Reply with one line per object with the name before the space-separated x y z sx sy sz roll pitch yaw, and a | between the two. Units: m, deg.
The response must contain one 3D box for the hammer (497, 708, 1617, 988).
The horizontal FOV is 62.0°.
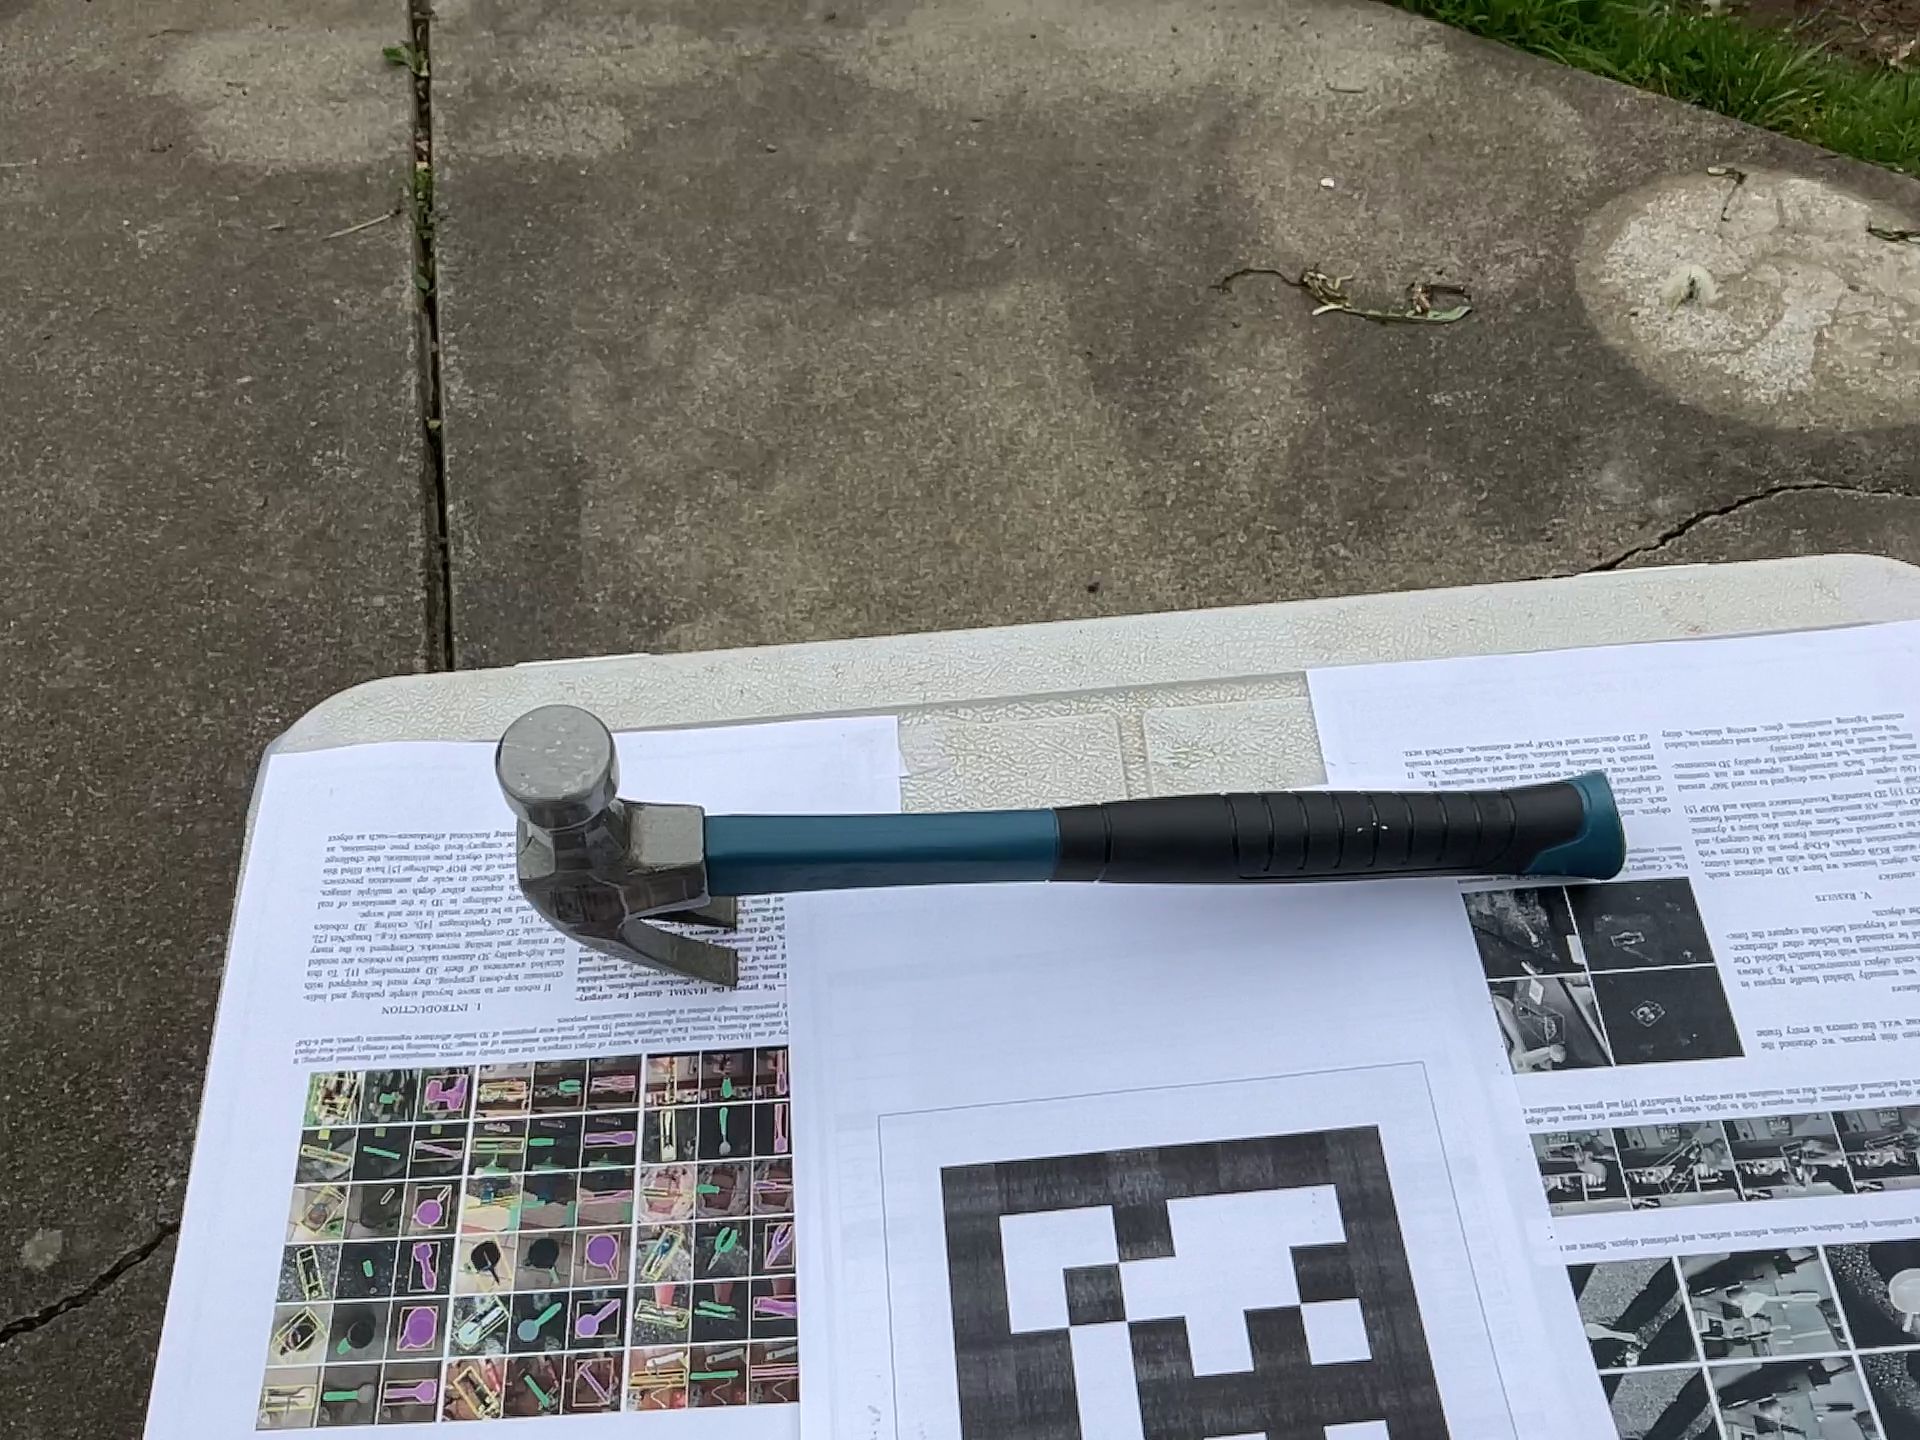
hammer | 0.040 0.037 0.476 0.331 0.128 0.033 -1 60 -8
